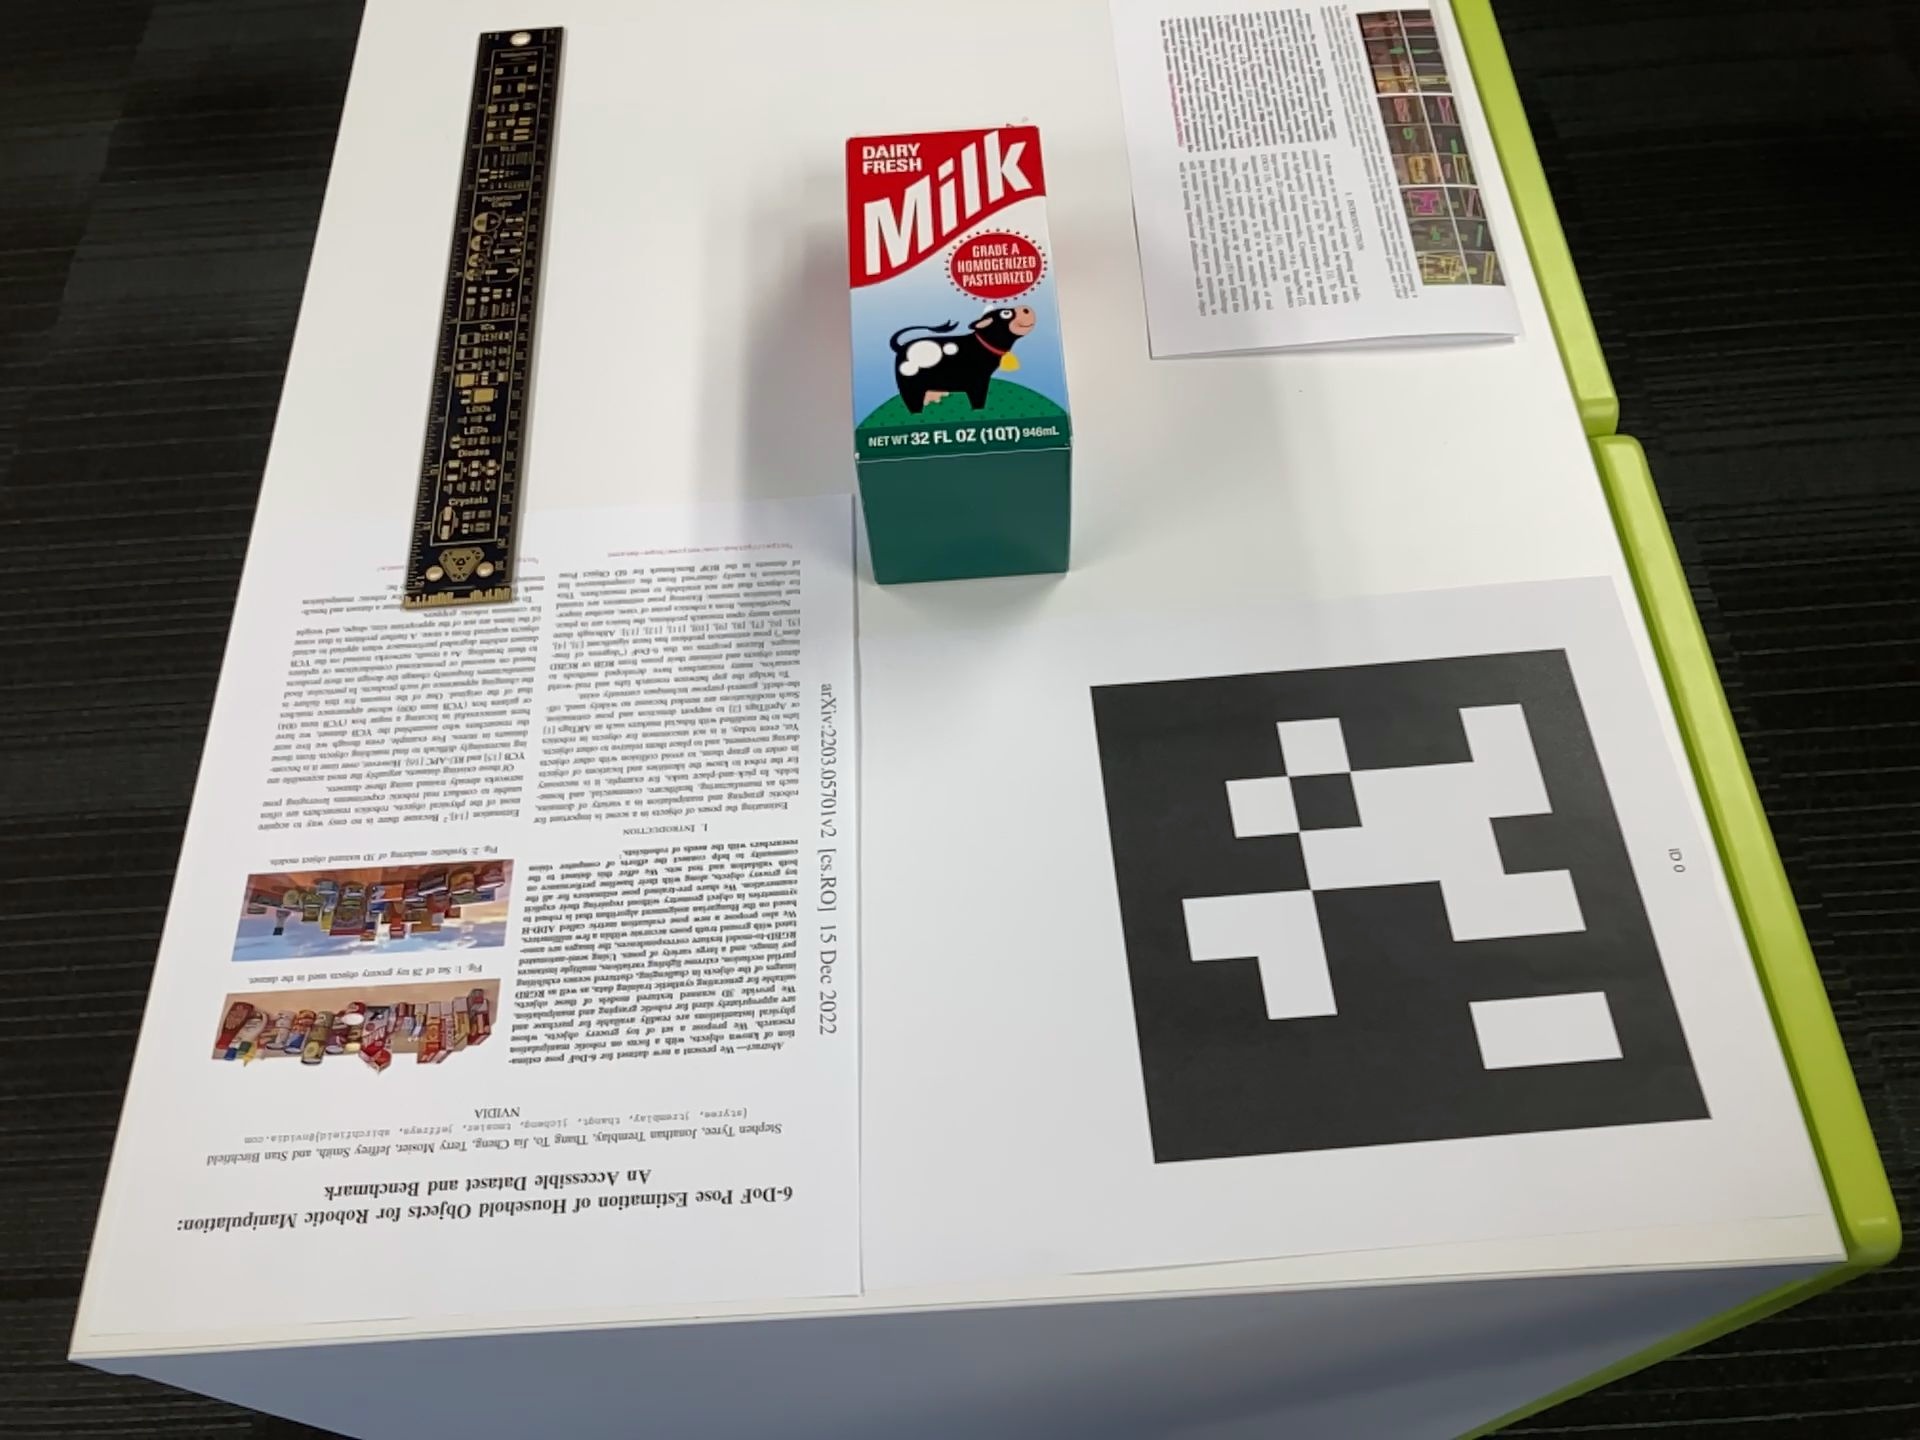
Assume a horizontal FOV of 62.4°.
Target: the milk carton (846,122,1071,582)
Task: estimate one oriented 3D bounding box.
[{"bbox_3d":[-0.002,-0.150,0.576,0.072,0.073,0.190,-4,59,1],"label":"milk carton"}]
